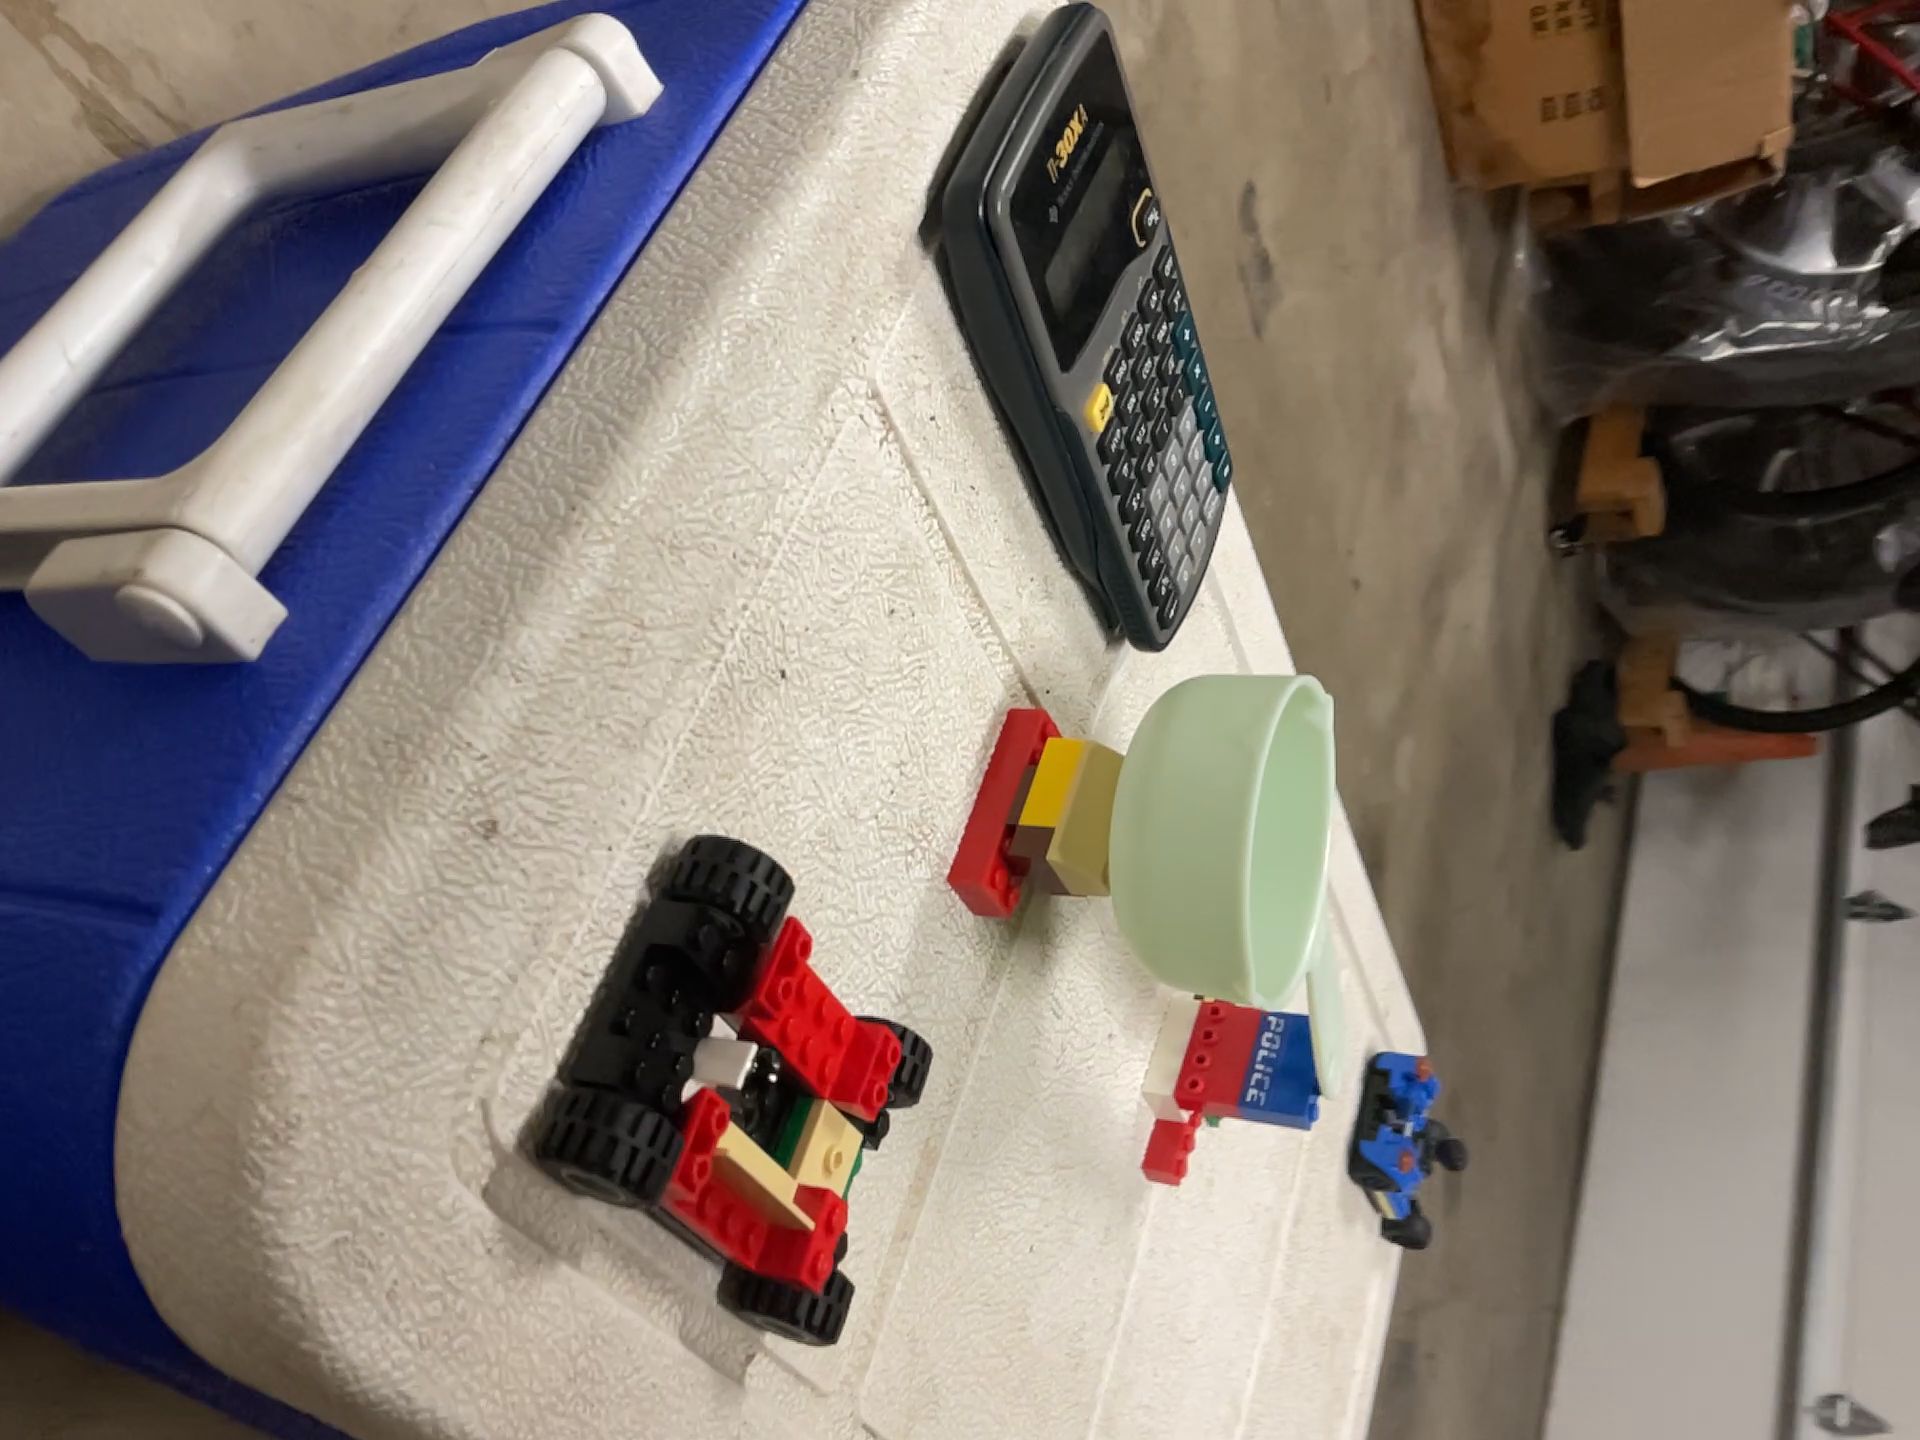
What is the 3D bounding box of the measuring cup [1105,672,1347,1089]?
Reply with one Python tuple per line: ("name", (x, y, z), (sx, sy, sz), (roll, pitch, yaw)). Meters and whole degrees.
("measuring cup", (0.072, 0.052, 0.403), (0.167, 0.038, 0.083), (64, 39, -50))
